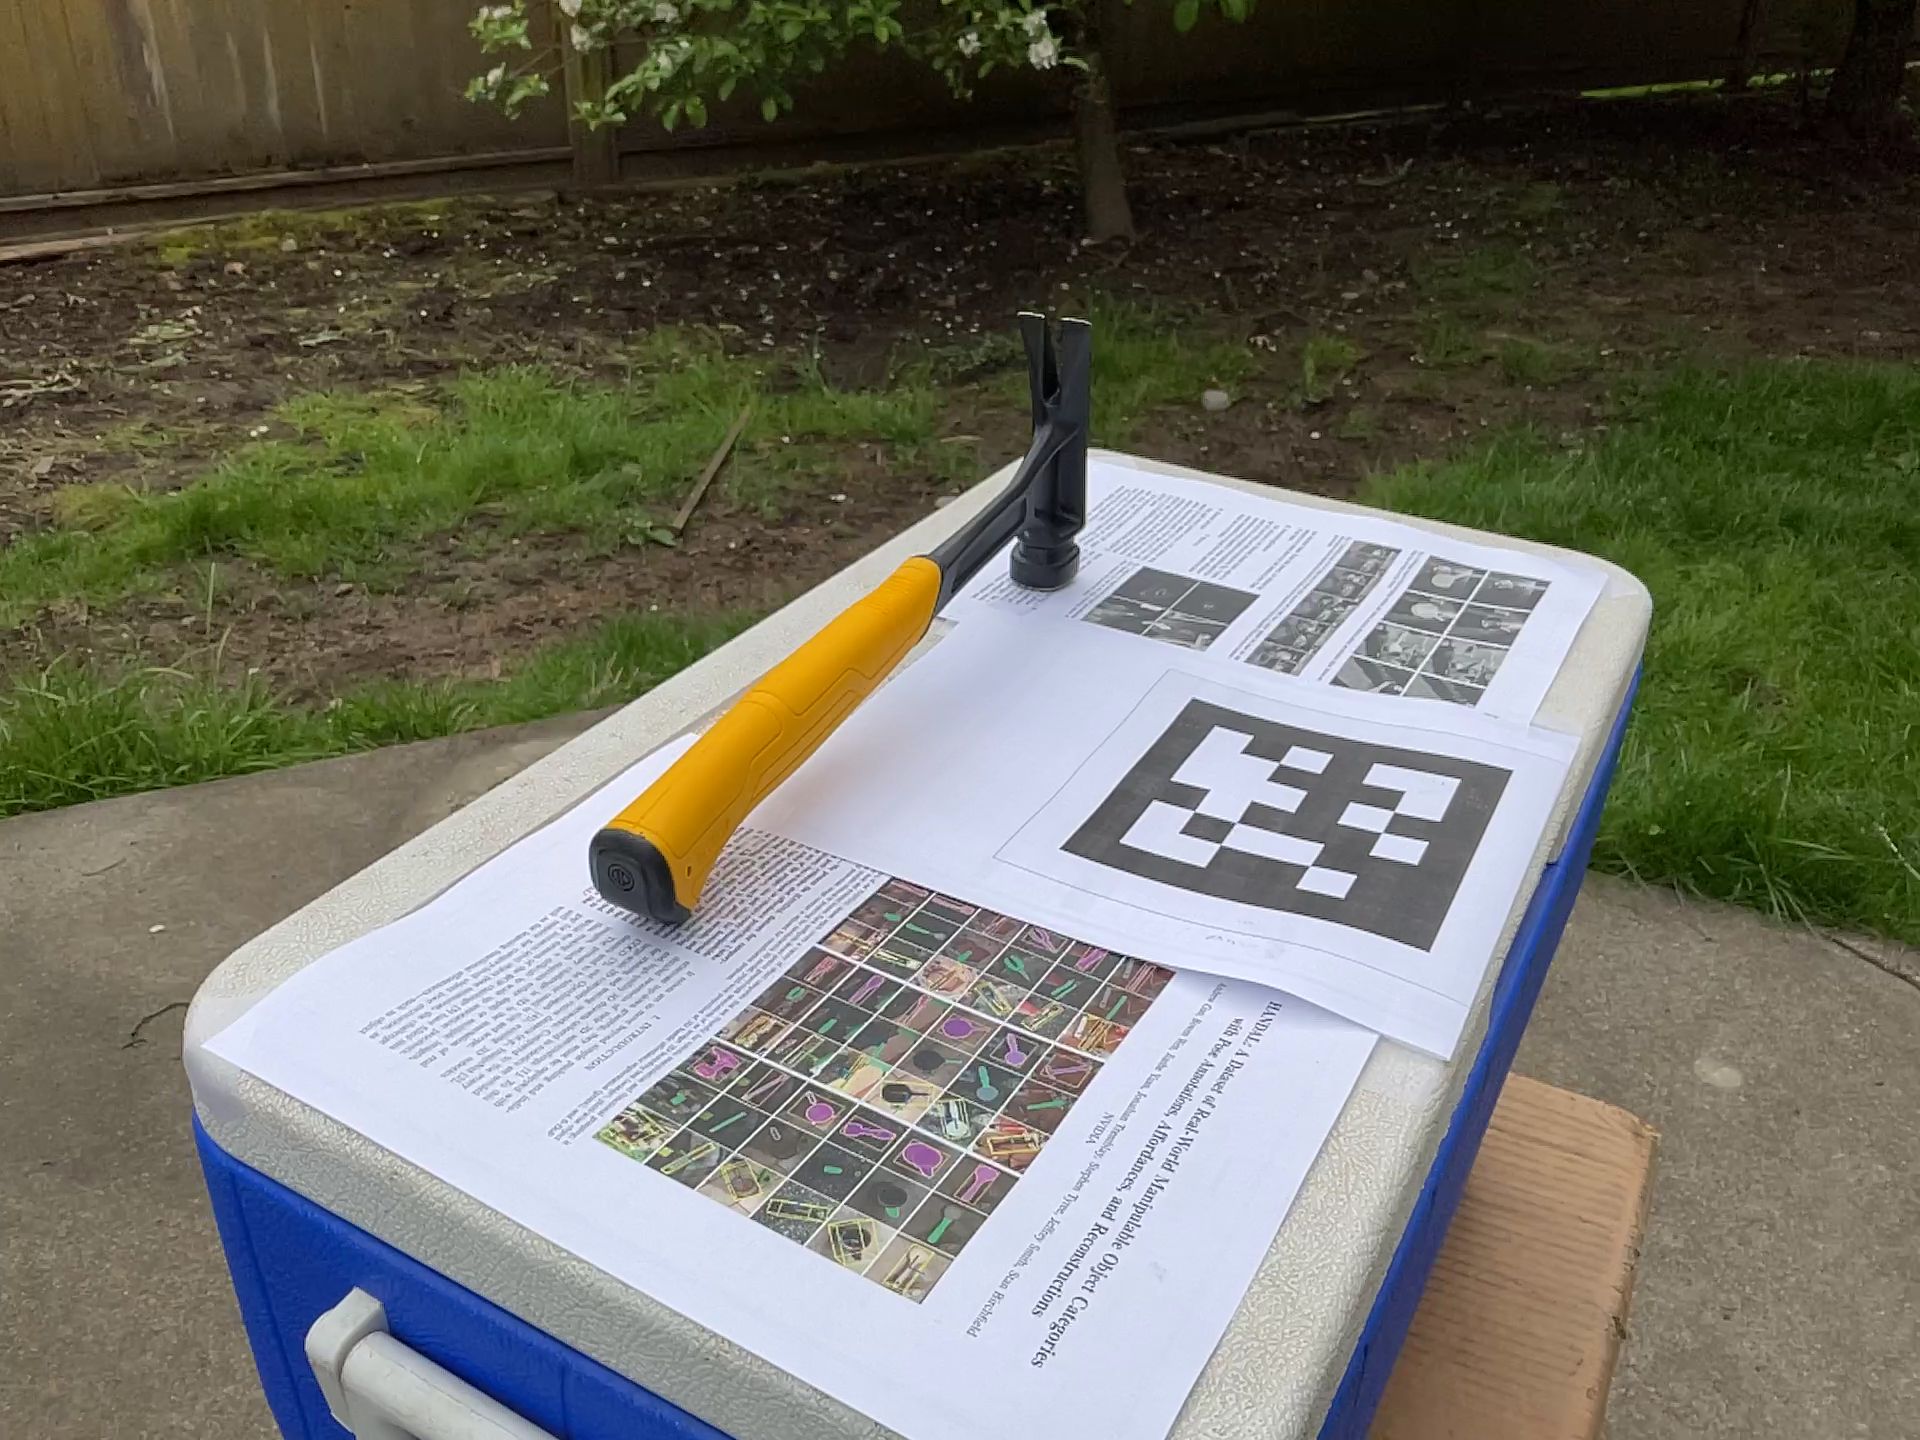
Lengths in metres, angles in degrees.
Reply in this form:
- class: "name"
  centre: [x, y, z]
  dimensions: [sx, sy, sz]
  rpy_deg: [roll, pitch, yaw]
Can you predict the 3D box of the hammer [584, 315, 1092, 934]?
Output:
- class: "hammer"
  centre: [-0.029, -0.039, 0.602]
  dimensions: [0.034, 0.127, 0.337]
  rpy_deg: [16, 38, 22]
